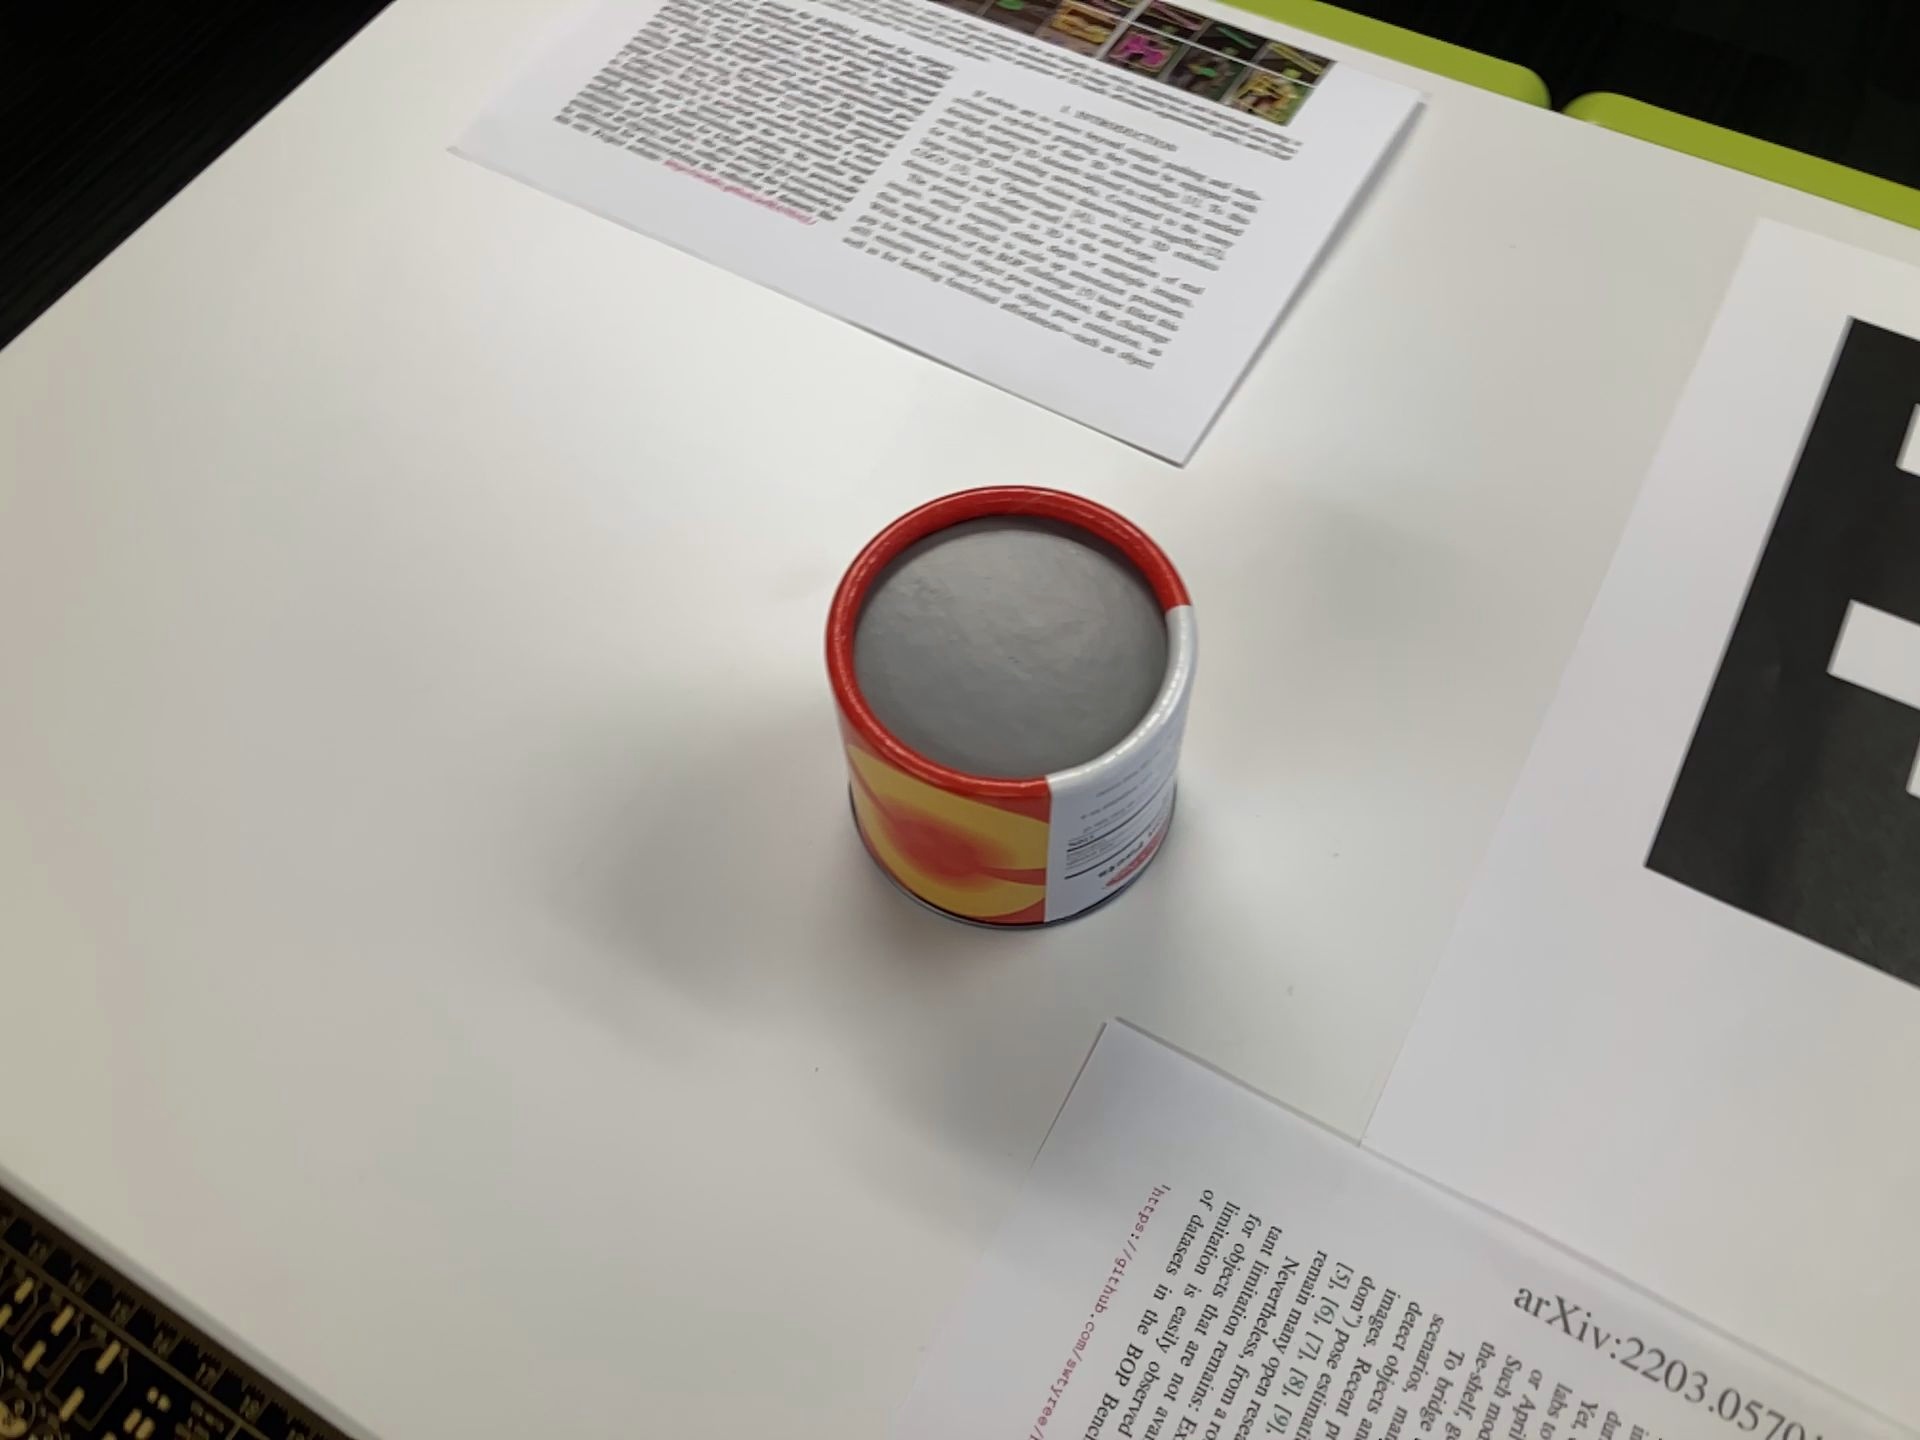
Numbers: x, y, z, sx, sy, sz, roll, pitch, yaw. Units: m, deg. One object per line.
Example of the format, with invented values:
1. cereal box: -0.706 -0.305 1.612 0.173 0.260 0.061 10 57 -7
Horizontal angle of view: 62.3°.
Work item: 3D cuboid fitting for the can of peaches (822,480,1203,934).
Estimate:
1. can of peaches: 0.007 -0.003 0.294 0.071 0.058 0.071 -1 61 1
